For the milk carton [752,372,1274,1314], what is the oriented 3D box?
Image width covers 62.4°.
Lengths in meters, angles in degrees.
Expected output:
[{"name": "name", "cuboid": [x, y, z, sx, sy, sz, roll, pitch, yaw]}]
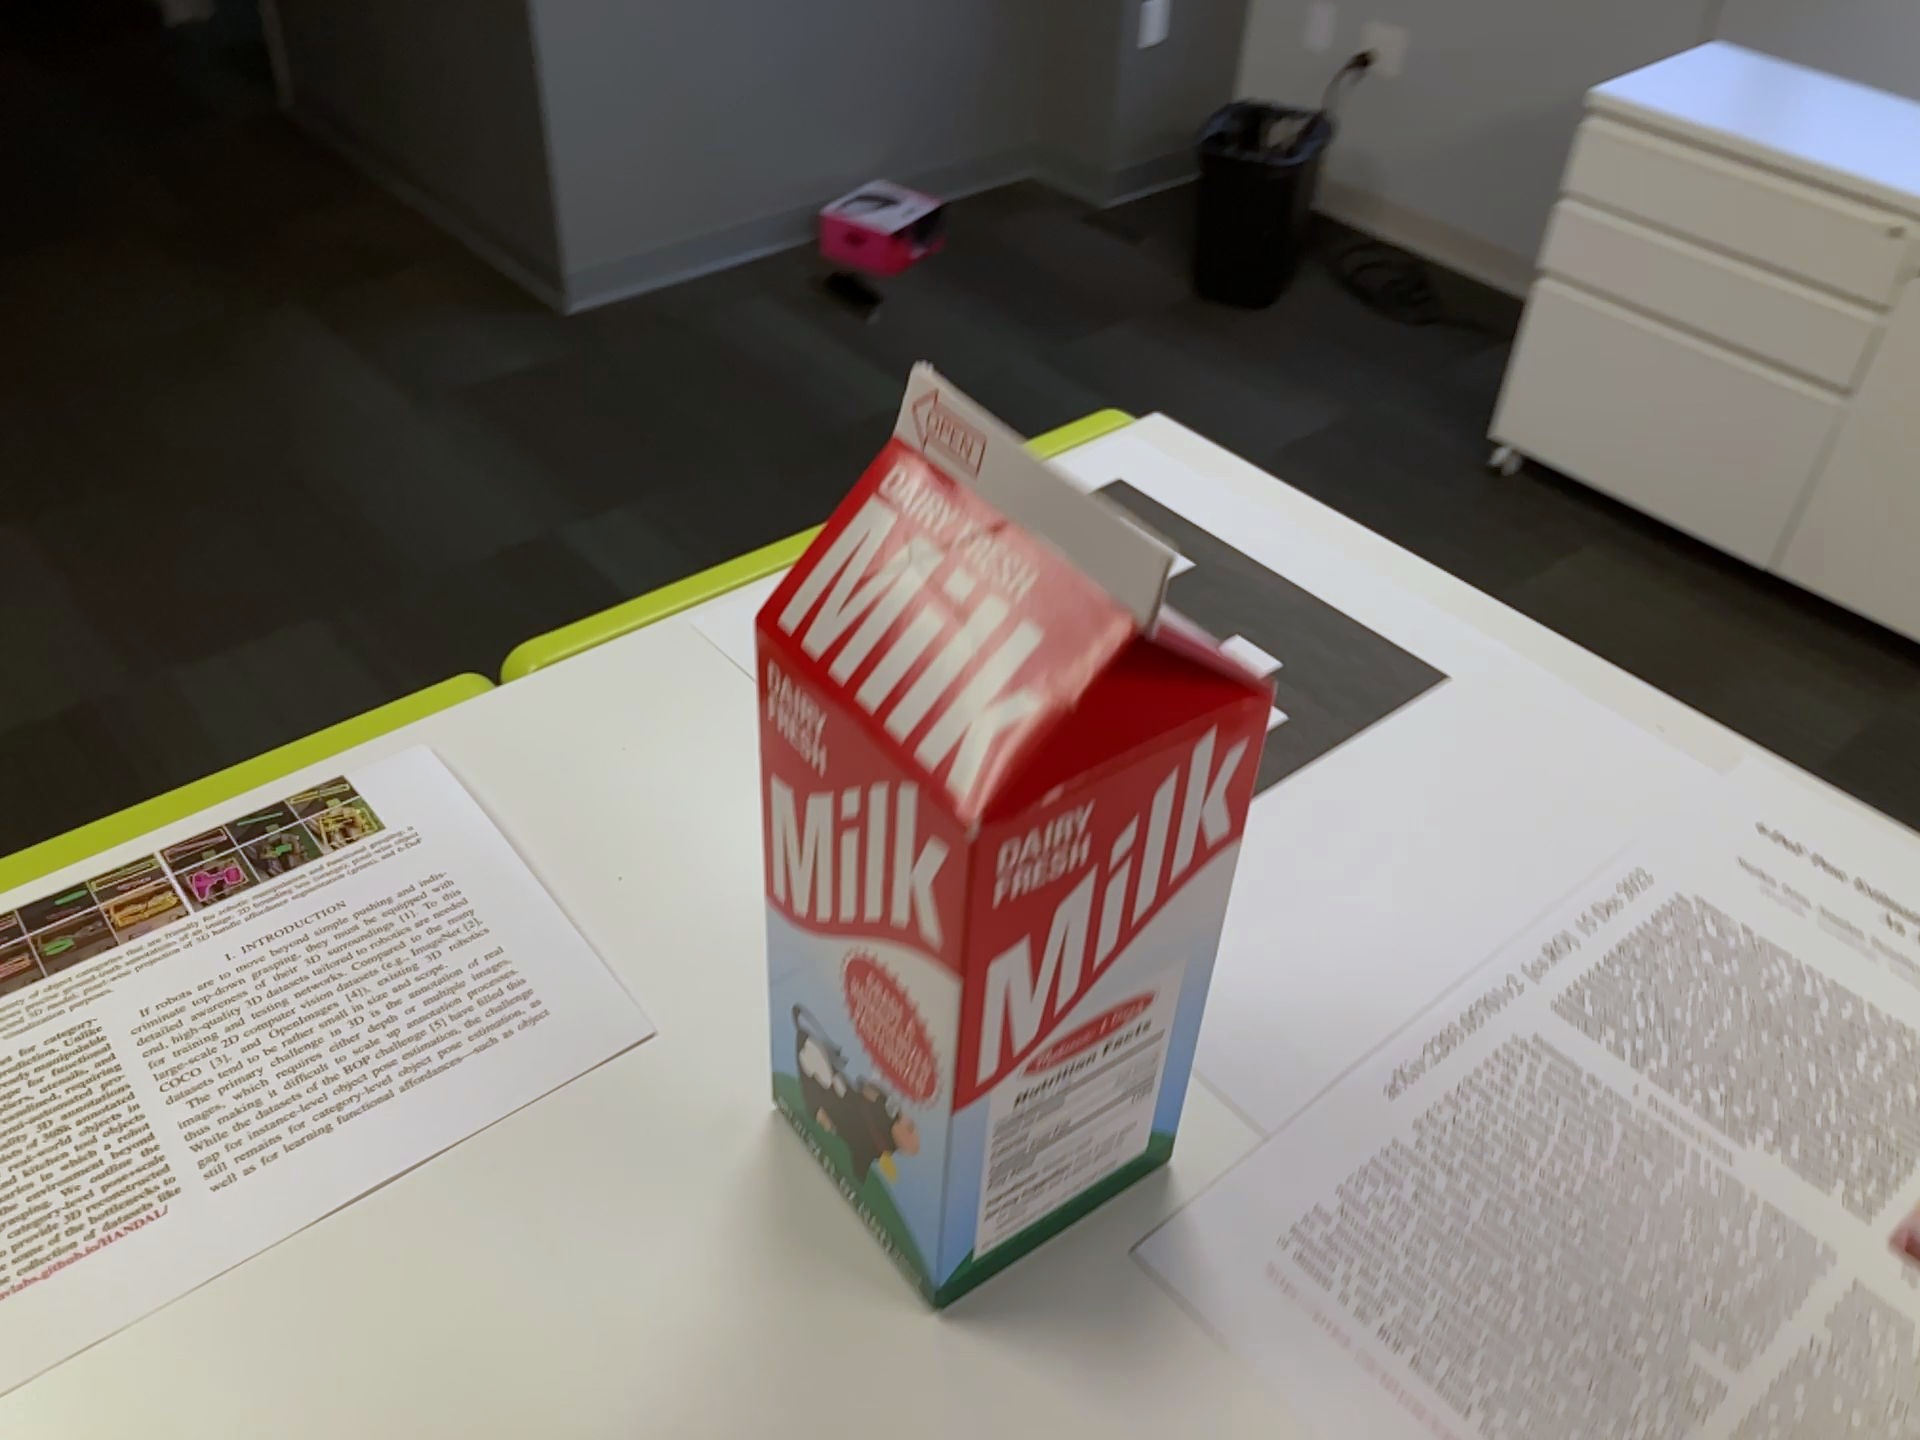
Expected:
[{"name": "milk carton", "cuboid": [0.007, 0.028, 0.328, 0.073, 0.190, 0.072, -23, 47, -28]}]
